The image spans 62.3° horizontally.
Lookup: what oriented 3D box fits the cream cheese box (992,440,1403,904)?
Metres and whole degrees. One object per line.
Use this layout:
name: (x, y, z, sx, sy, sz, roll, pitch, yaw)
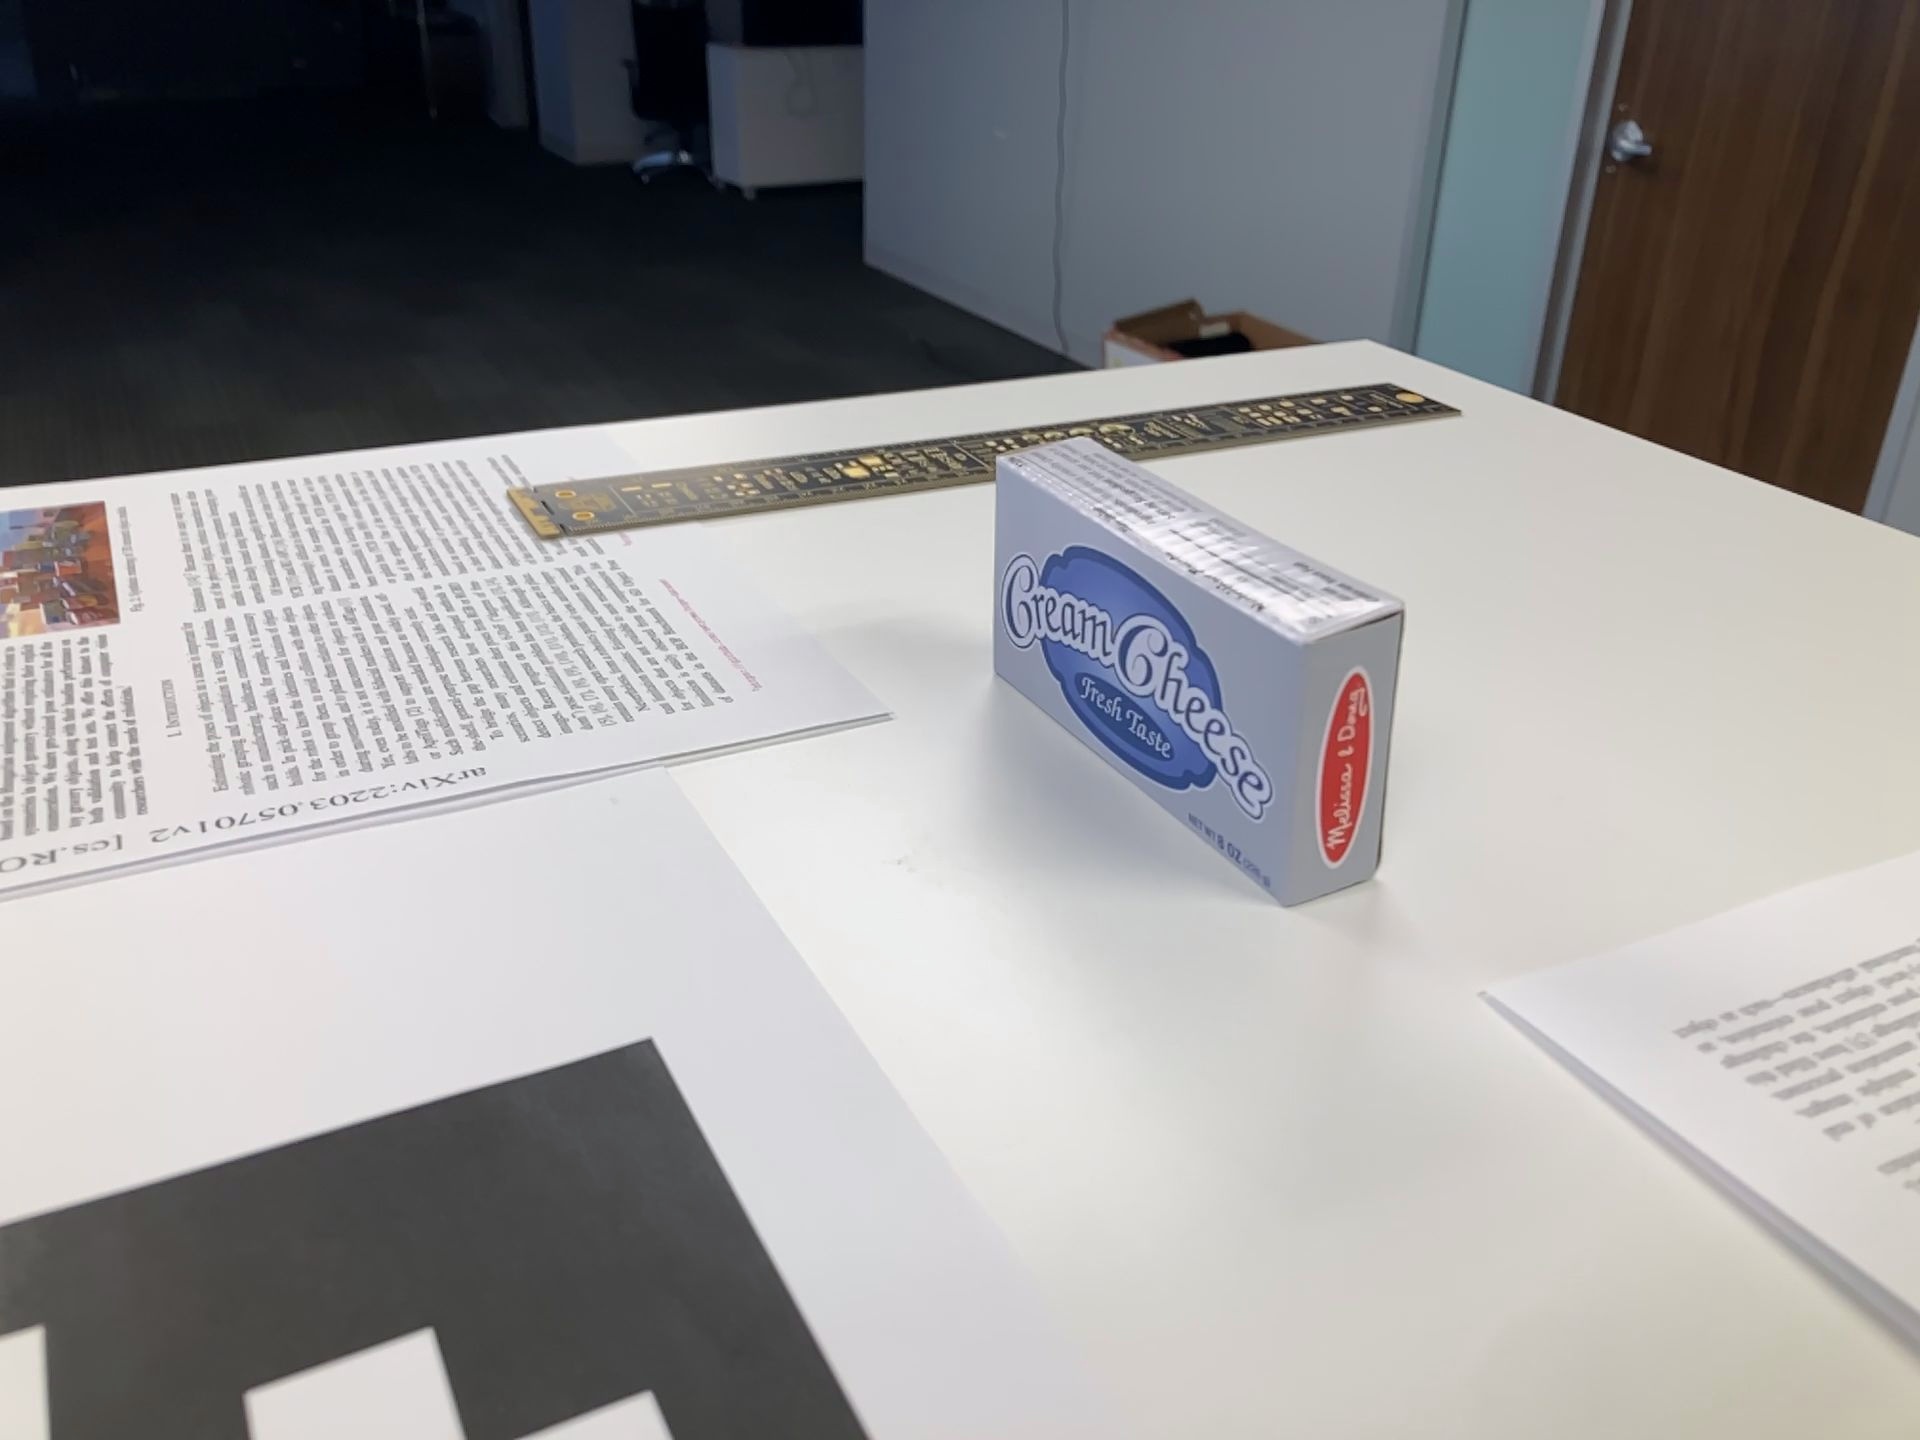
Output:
cream cheese box: (0.041, -0.014, 0.306, 0.024, 0.053, 0.104, -14, 31, -25)
